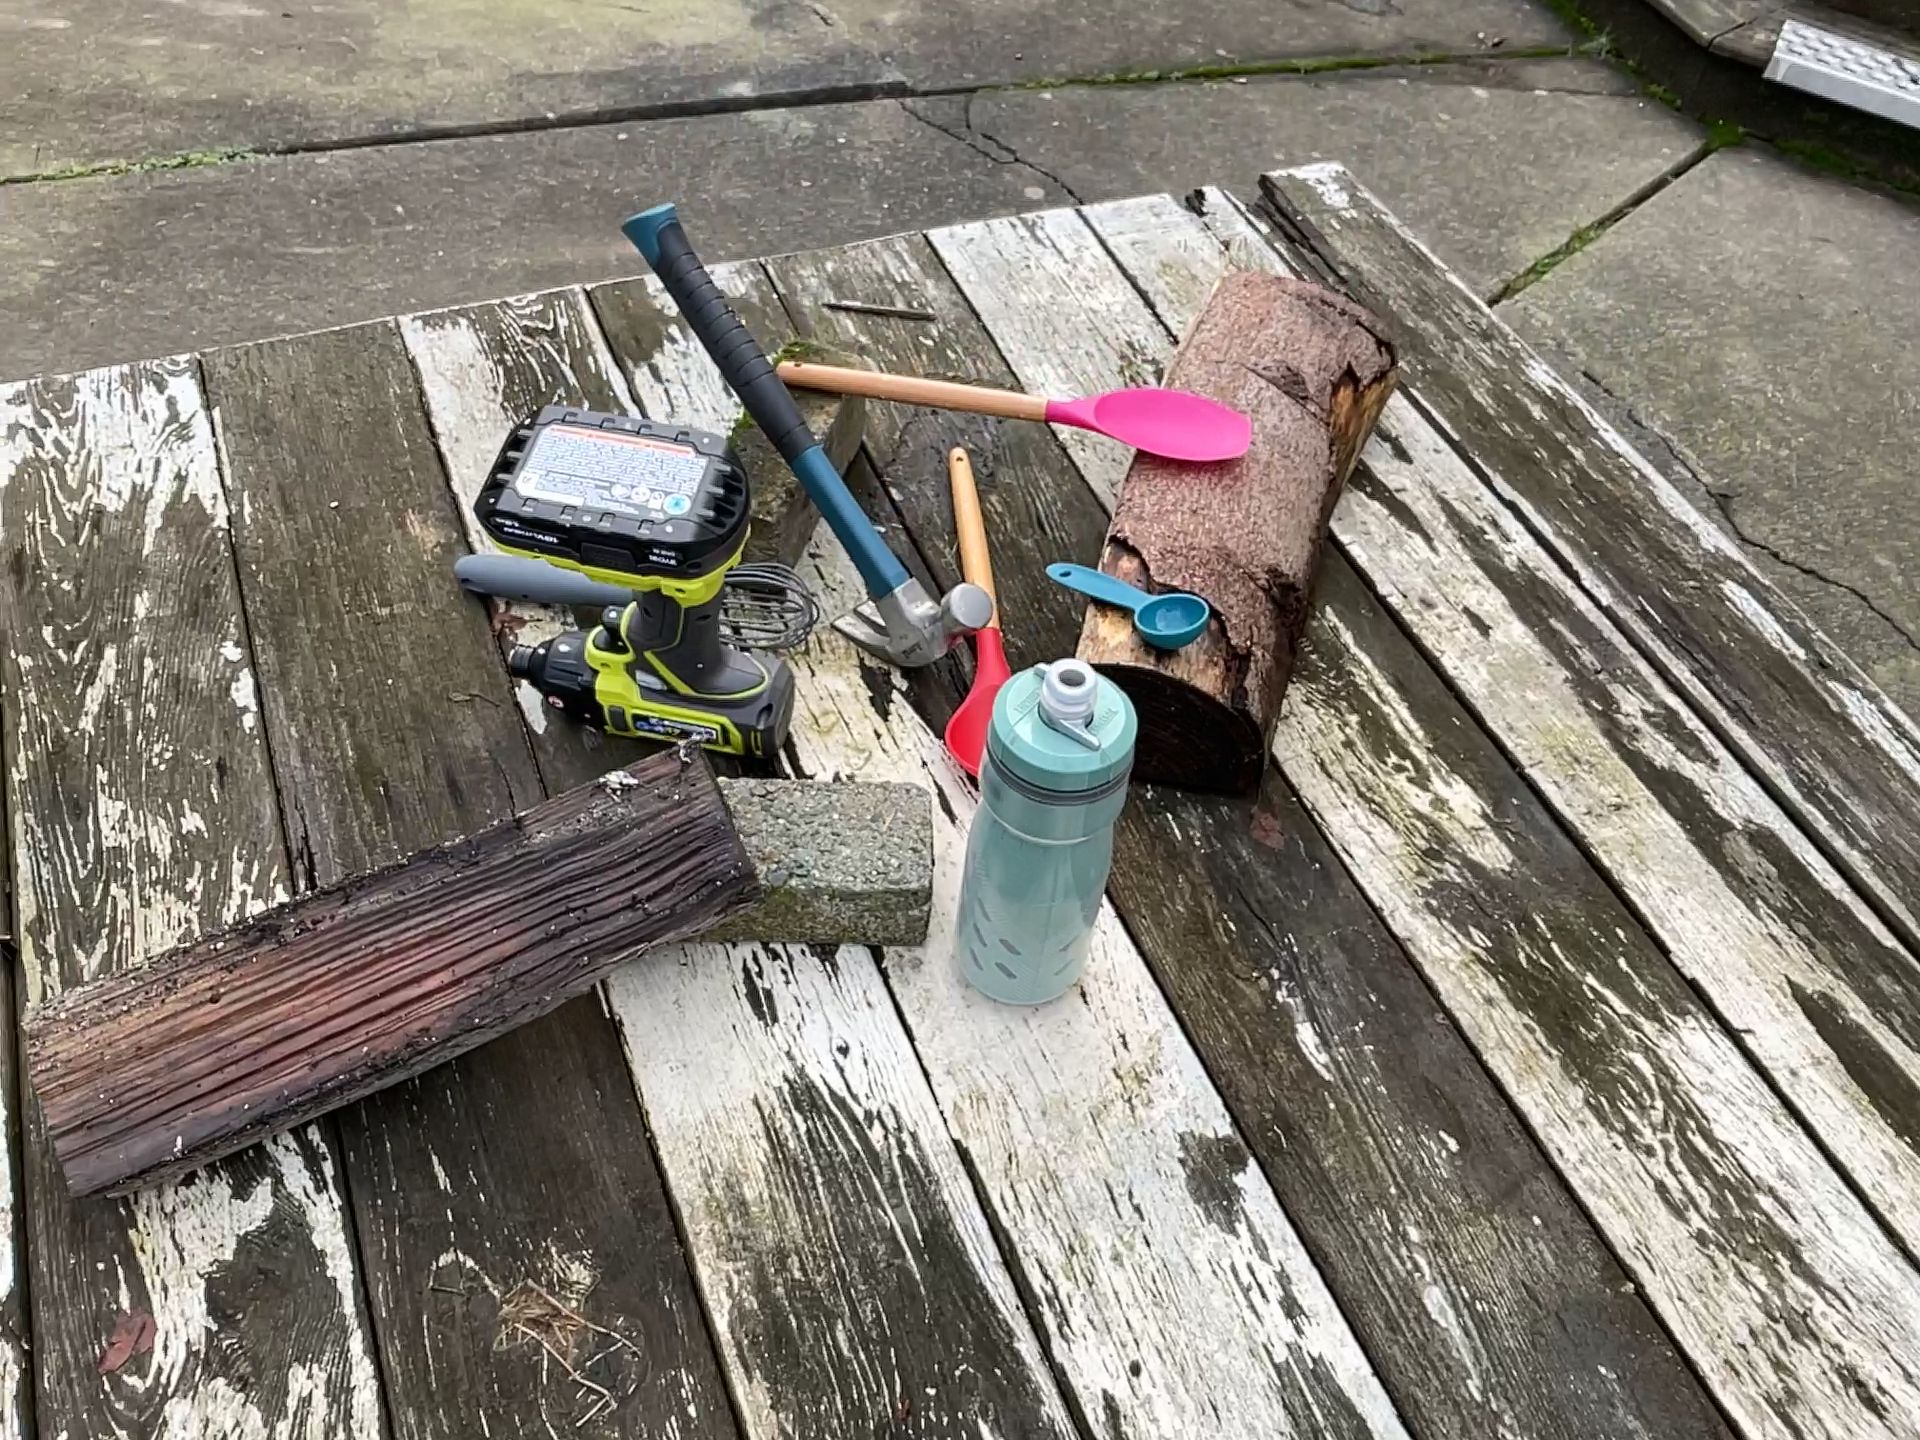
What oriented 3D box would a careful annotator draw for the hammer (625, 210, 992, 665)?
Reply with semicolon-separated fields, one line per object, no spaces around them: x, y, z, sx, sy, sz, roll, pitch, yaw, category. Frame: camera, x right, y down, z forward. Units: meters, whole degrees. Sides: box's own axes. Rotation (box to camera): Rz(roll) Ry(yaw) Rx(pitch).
-0.105;-0.178;1.000;0.033;0.128;0.331;-35;92;-32;hammer

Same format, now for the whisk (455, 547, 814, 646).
-0.209;-0.088;1.022;0.239;0.055;0.055;8;41;6;whisk

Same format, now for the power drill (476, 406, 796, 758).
-0.186;-0.066;0.897;0.171;0.223;0.080;10;57;5;power drill

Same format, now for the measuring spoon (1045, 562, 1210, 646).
0.097;-0.070;0.955;0.042;0.021;0.129;-32;37;-28;measuring spoon

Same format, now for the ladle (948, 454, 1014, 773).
0.015;-0.075;1.054;0.069;0.031;0.316;-3;47;-5;ladle

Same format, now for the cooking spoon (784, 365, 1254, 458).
0.037;-0.211;1.066;0.319;0.017;0.069;10;50;8;cooking spoon
